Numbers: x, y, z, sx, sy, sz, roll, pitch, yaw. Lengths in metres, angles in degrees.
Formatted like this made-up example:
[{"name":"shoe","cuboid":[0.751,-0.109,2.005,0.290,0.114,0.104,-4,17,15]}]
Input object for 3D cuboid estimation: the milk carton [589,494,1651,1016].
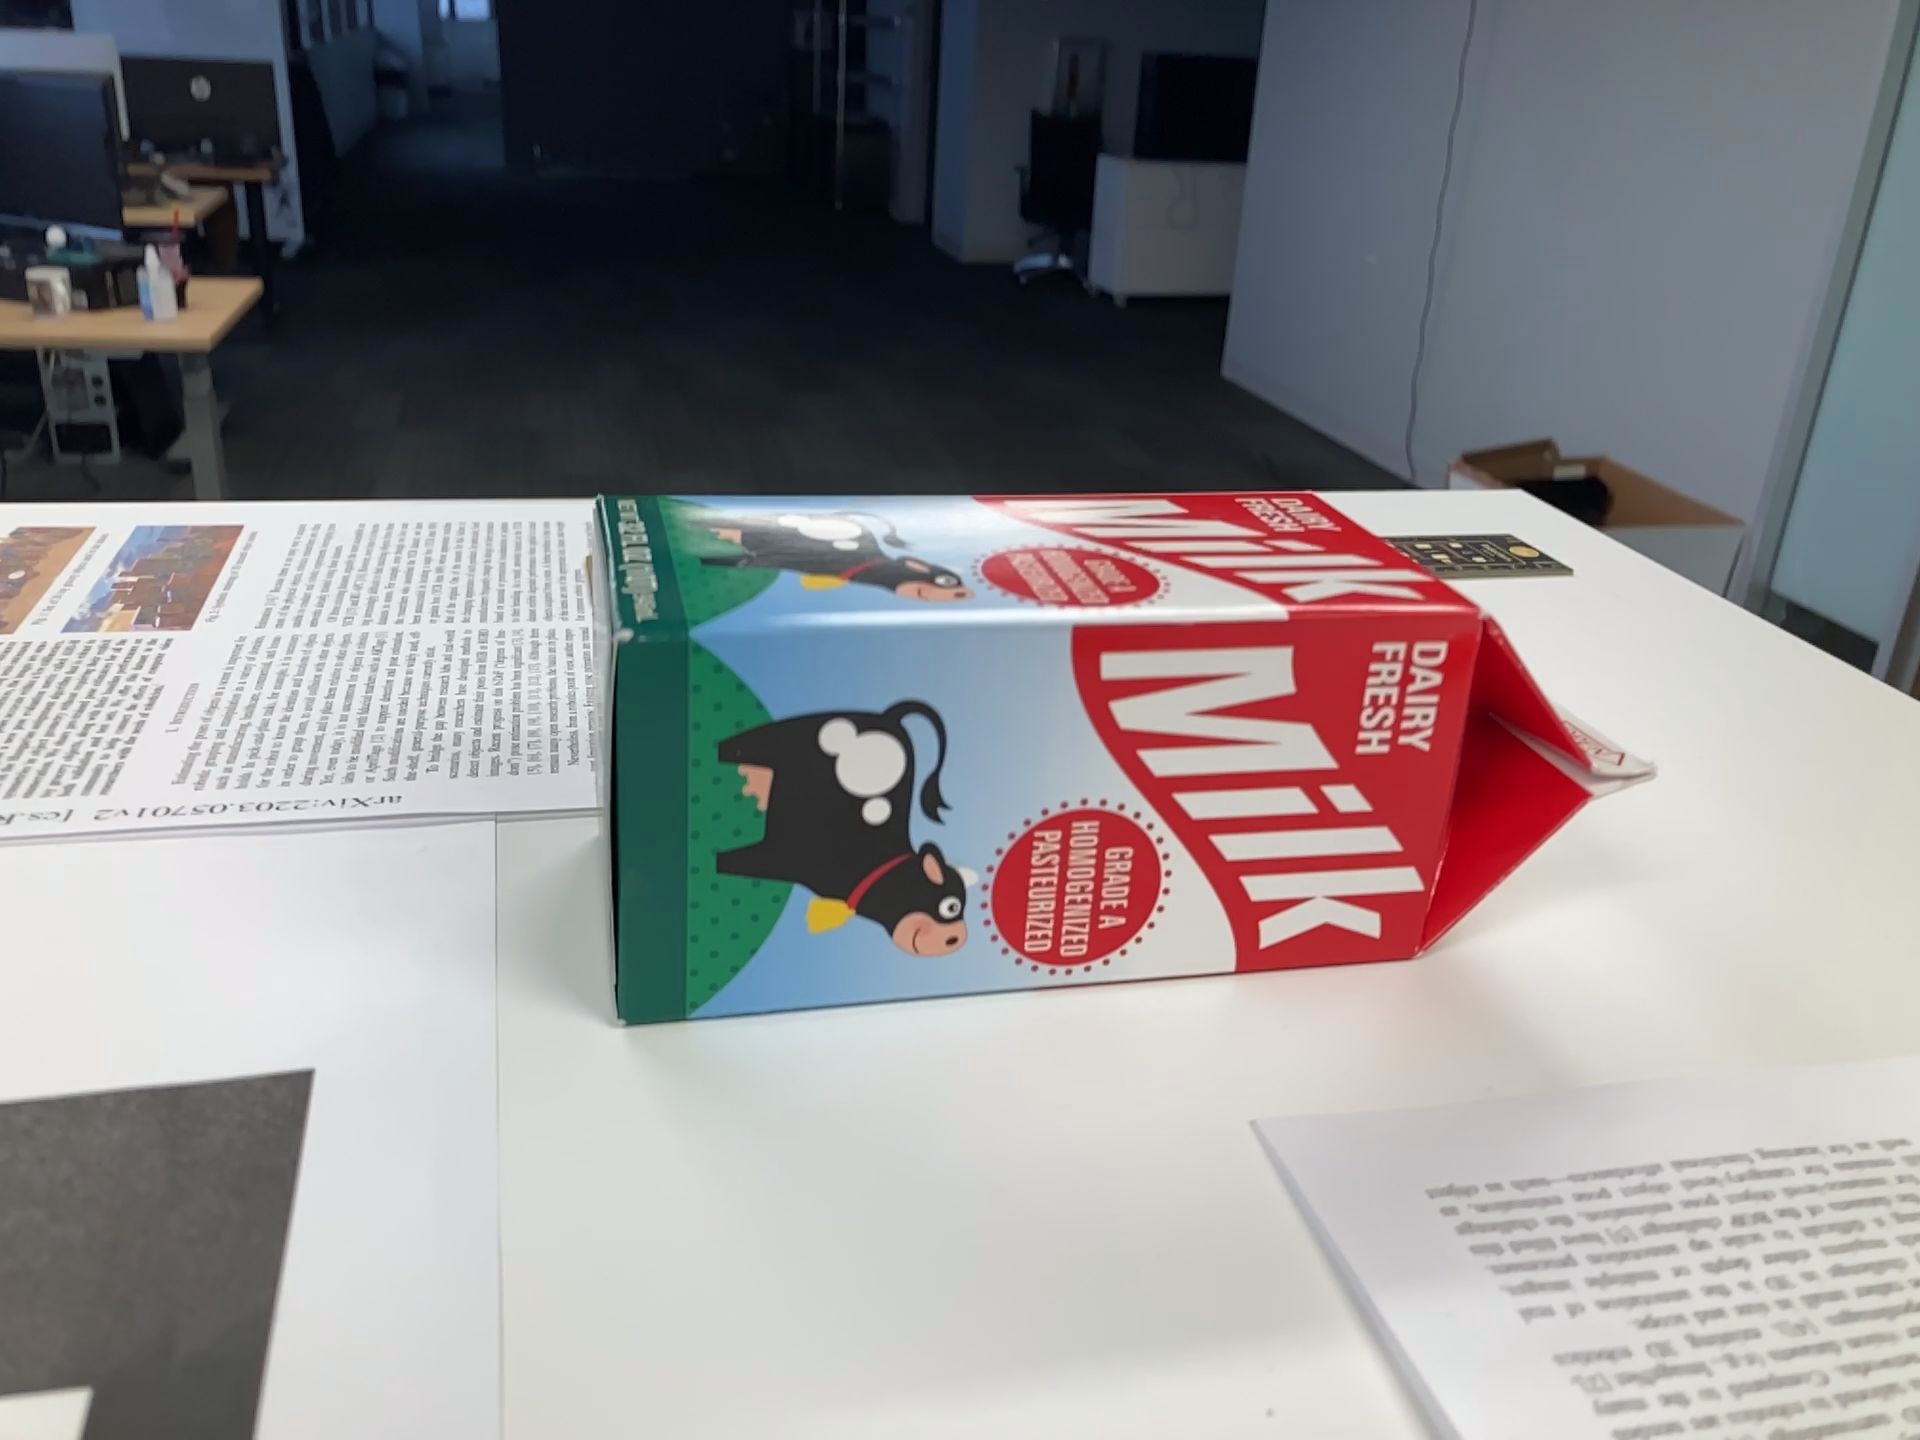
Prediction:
[{"name":"milk carton","cuboid":[0.028,0.000,0.303,0.190,0.073,0.072,-2,24,-15]}]
